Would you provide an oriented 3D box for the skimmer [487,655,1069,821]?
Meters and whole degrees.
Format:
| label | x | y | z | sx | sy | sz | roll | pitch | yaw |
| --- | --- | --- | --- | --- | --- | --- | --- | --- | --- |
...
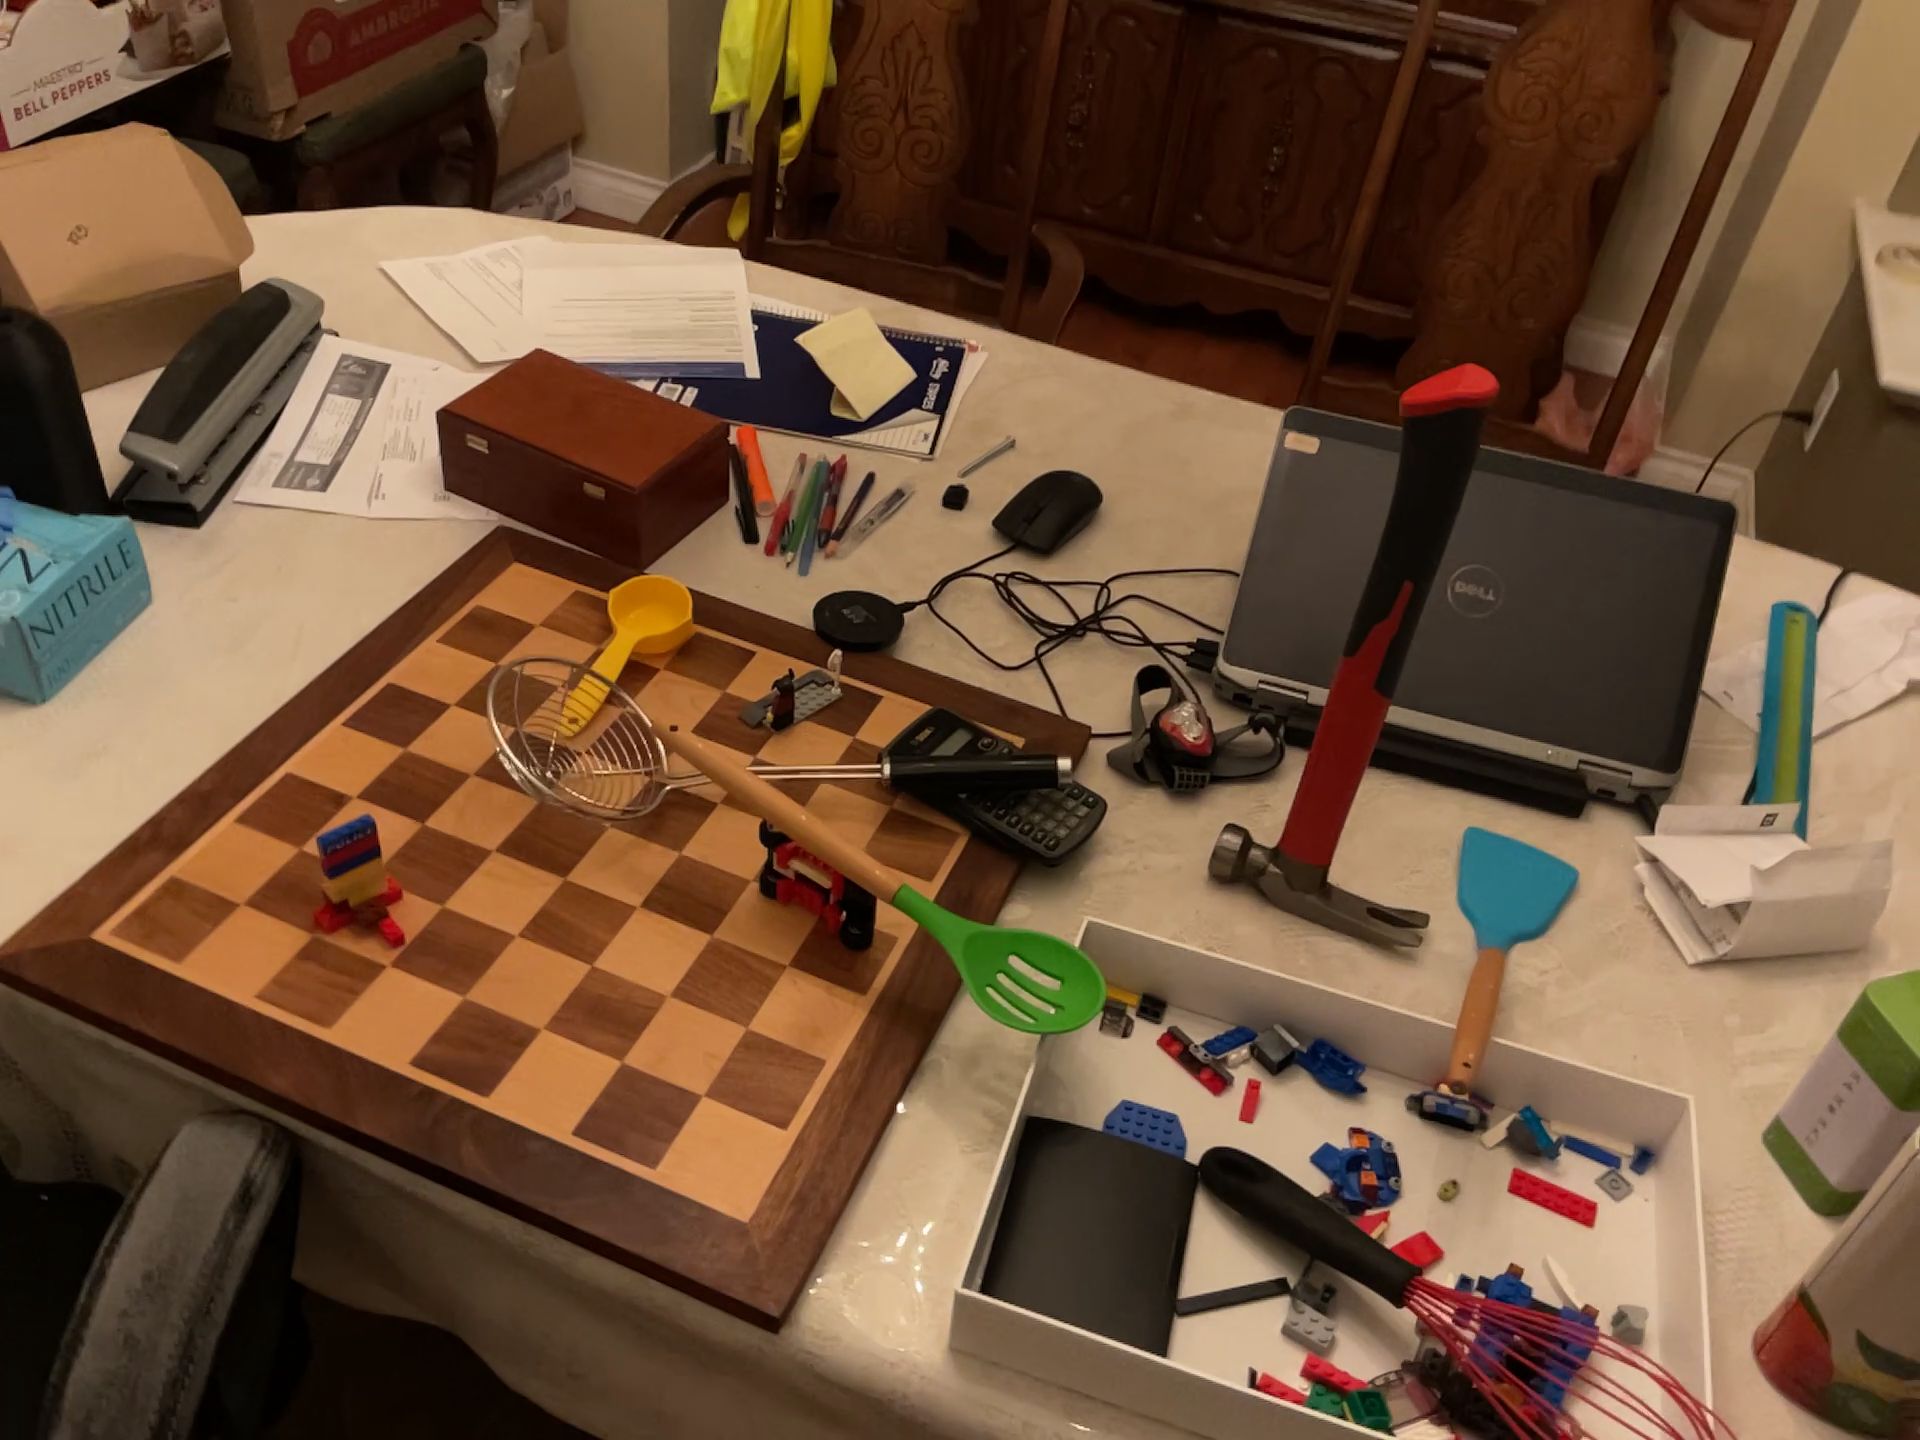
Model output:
| label | x | y | z | sx | sy | sz | roll | pitch | yaw |
| --- | --- | --- | --- | --- | --- | --- | --- | --- | --- |
| skimmer | -0.110 | 0.013 | 1.011 | 0.363 | 0.090 | 0.127 | 0 | 39 | -2 |

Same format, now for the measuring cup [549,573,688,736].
| label | x | y | z | sx | sy | sz | roll | pitch | yaw |
| --- | --- | --- | --- | --- | --- | --- | --- | --- | --- |
| measuring cup | -0.243 | -0.041 | 1.118 | 0.062 | 0.029 | 0.156 | 21 | 55 | 10 |

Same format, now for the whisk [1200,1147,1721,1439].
| label | x | y | z | sx | sy | sz | roll | pitch | yaw |
| --- | --- | --- | --- | --- | --- | --- | --- | --- | --- |
| whisk | 0.237 | 0.292 | 0.786 | 0.073 | 0.073 | 0.296 | -8 | 25 | -44 |

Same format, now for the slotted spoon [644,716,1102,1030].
| label | x | y | z | sx | sy | sz | roll | pitch | yaw |
| --- | --- | --- | --- | --- | --- | --- | --- | --- | --- |
| slotted spoon | -0.058 | 0.084 | 0.917 | 0.314 | 0.031 | 0.070 | 33 | 48 | 14 |

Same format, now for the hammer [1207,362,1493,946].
| label | x | y | z | sx | sy | sz | roll | pitch | yaw |
| --- | --- | --- | --- | --- | --- | --- | --- | --- | --- |
| hammer | 0.251 | -0.023 | 0.924 | 0.143 | 0.386 | 0.038 | 21 | 42 | 15 |

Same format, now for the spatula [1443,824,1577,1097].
| label | x | y | z | sx | sy | sz | roll | pitch | yaw |
| --- | --- | --- | --- | --- | --- | --- | --- | --- | --- |
| spatula | 0.320 | 0.143 | 0.963 | 0.082 | 0.044 | 0.317 | 24 | 22 | 16 |
